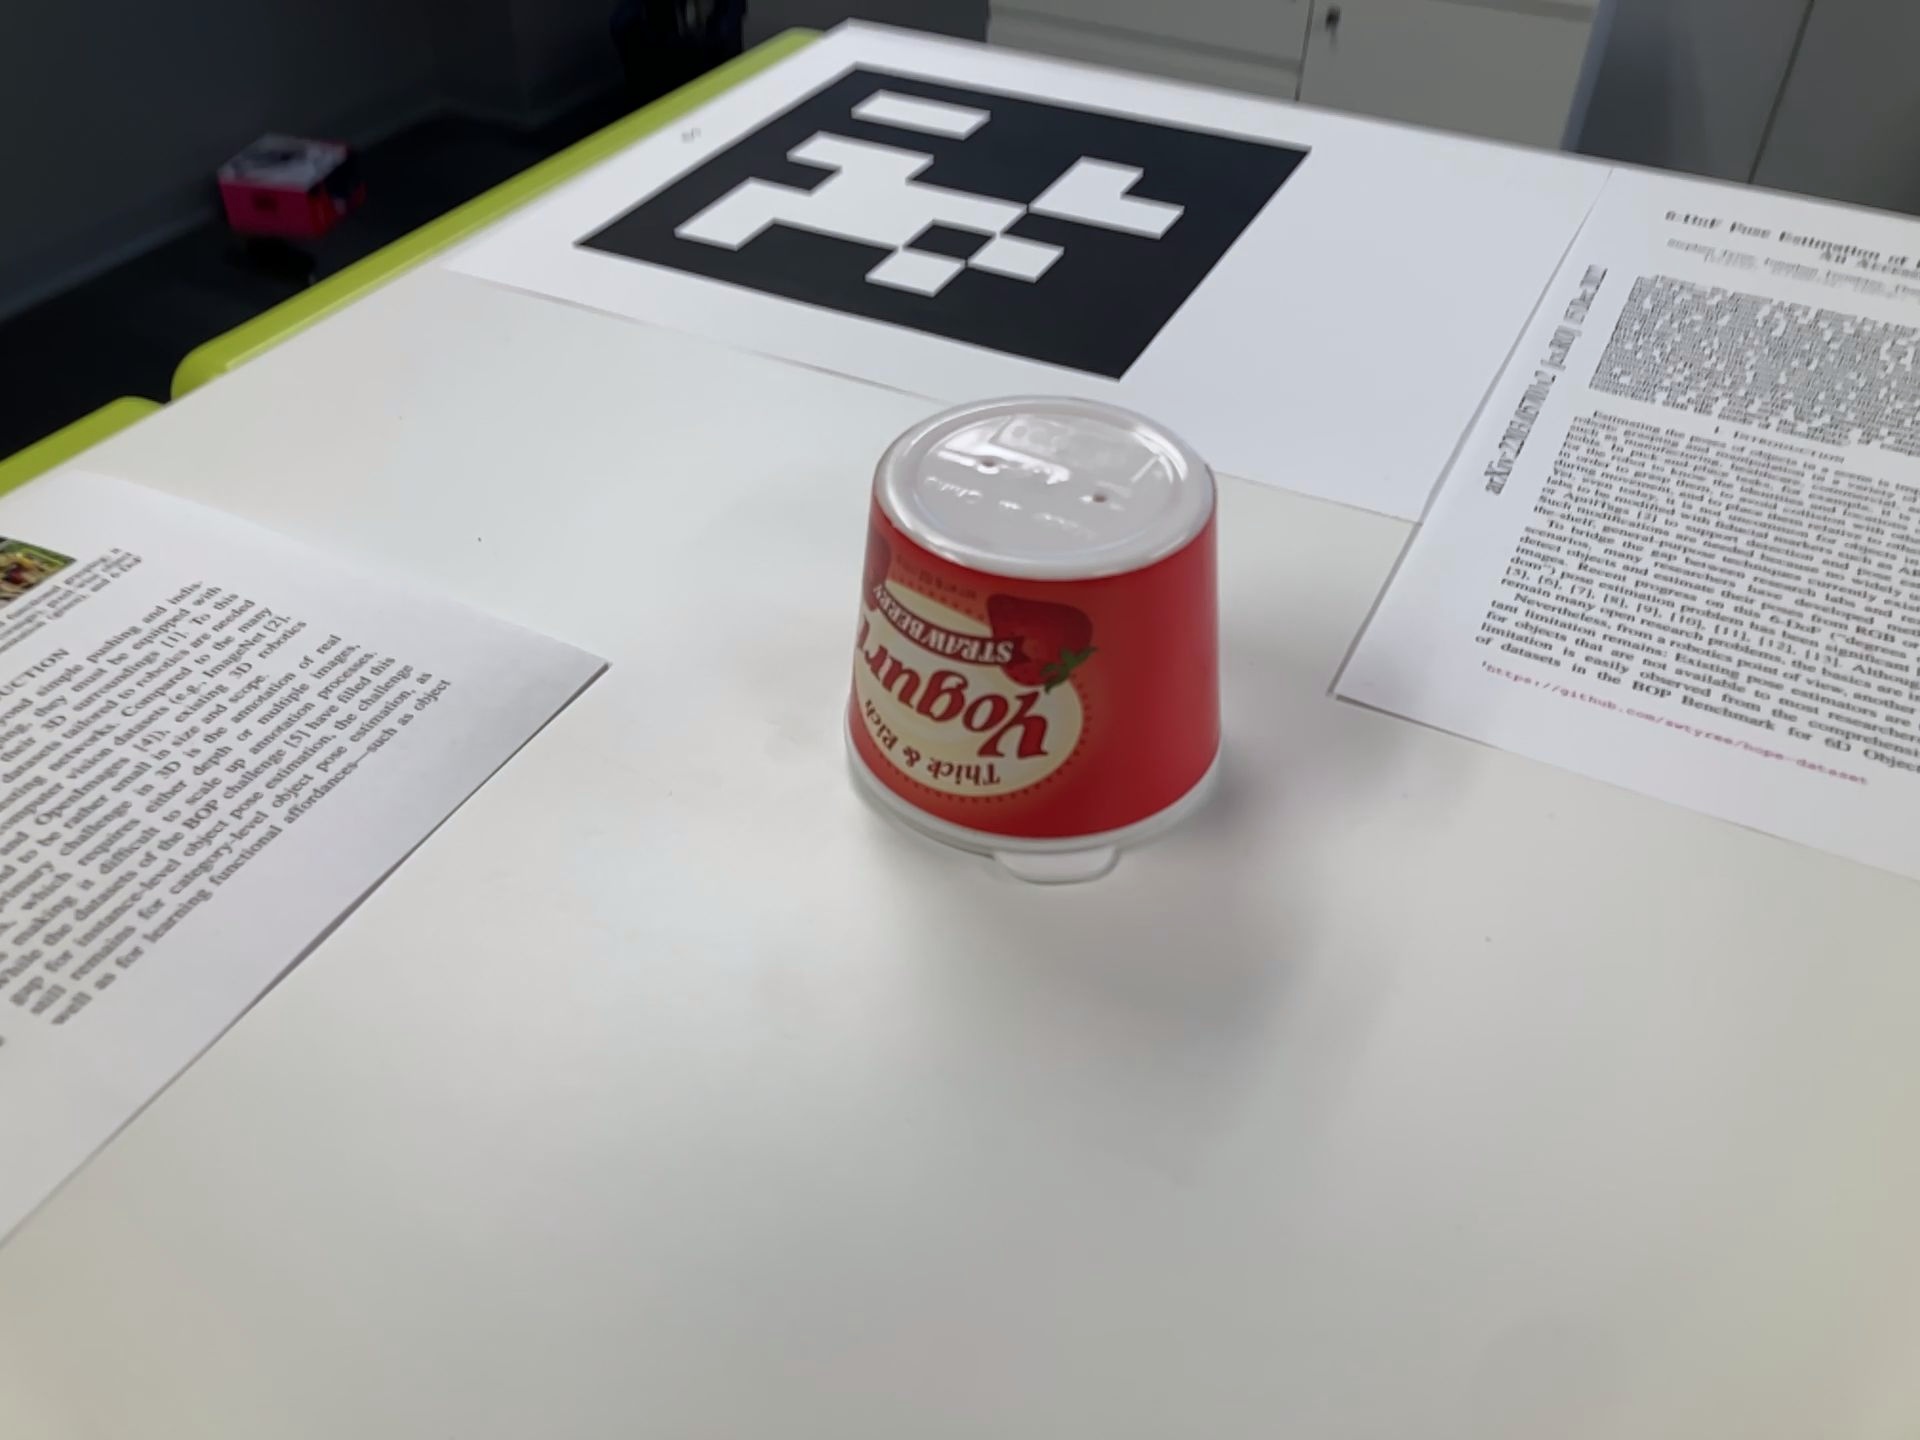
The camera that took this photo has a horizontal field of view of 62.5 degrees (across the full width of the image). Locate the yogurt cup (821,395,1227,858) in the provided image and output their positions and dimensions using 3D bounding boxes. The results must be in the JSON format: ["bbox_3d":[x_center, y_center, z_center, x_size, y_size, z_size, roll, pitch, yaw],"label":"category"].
[{"bbox_3d":[0.013,-0.019,0.268,0.072,0.054,0.072,0,40,0],"label":"yogurt cup"}]
